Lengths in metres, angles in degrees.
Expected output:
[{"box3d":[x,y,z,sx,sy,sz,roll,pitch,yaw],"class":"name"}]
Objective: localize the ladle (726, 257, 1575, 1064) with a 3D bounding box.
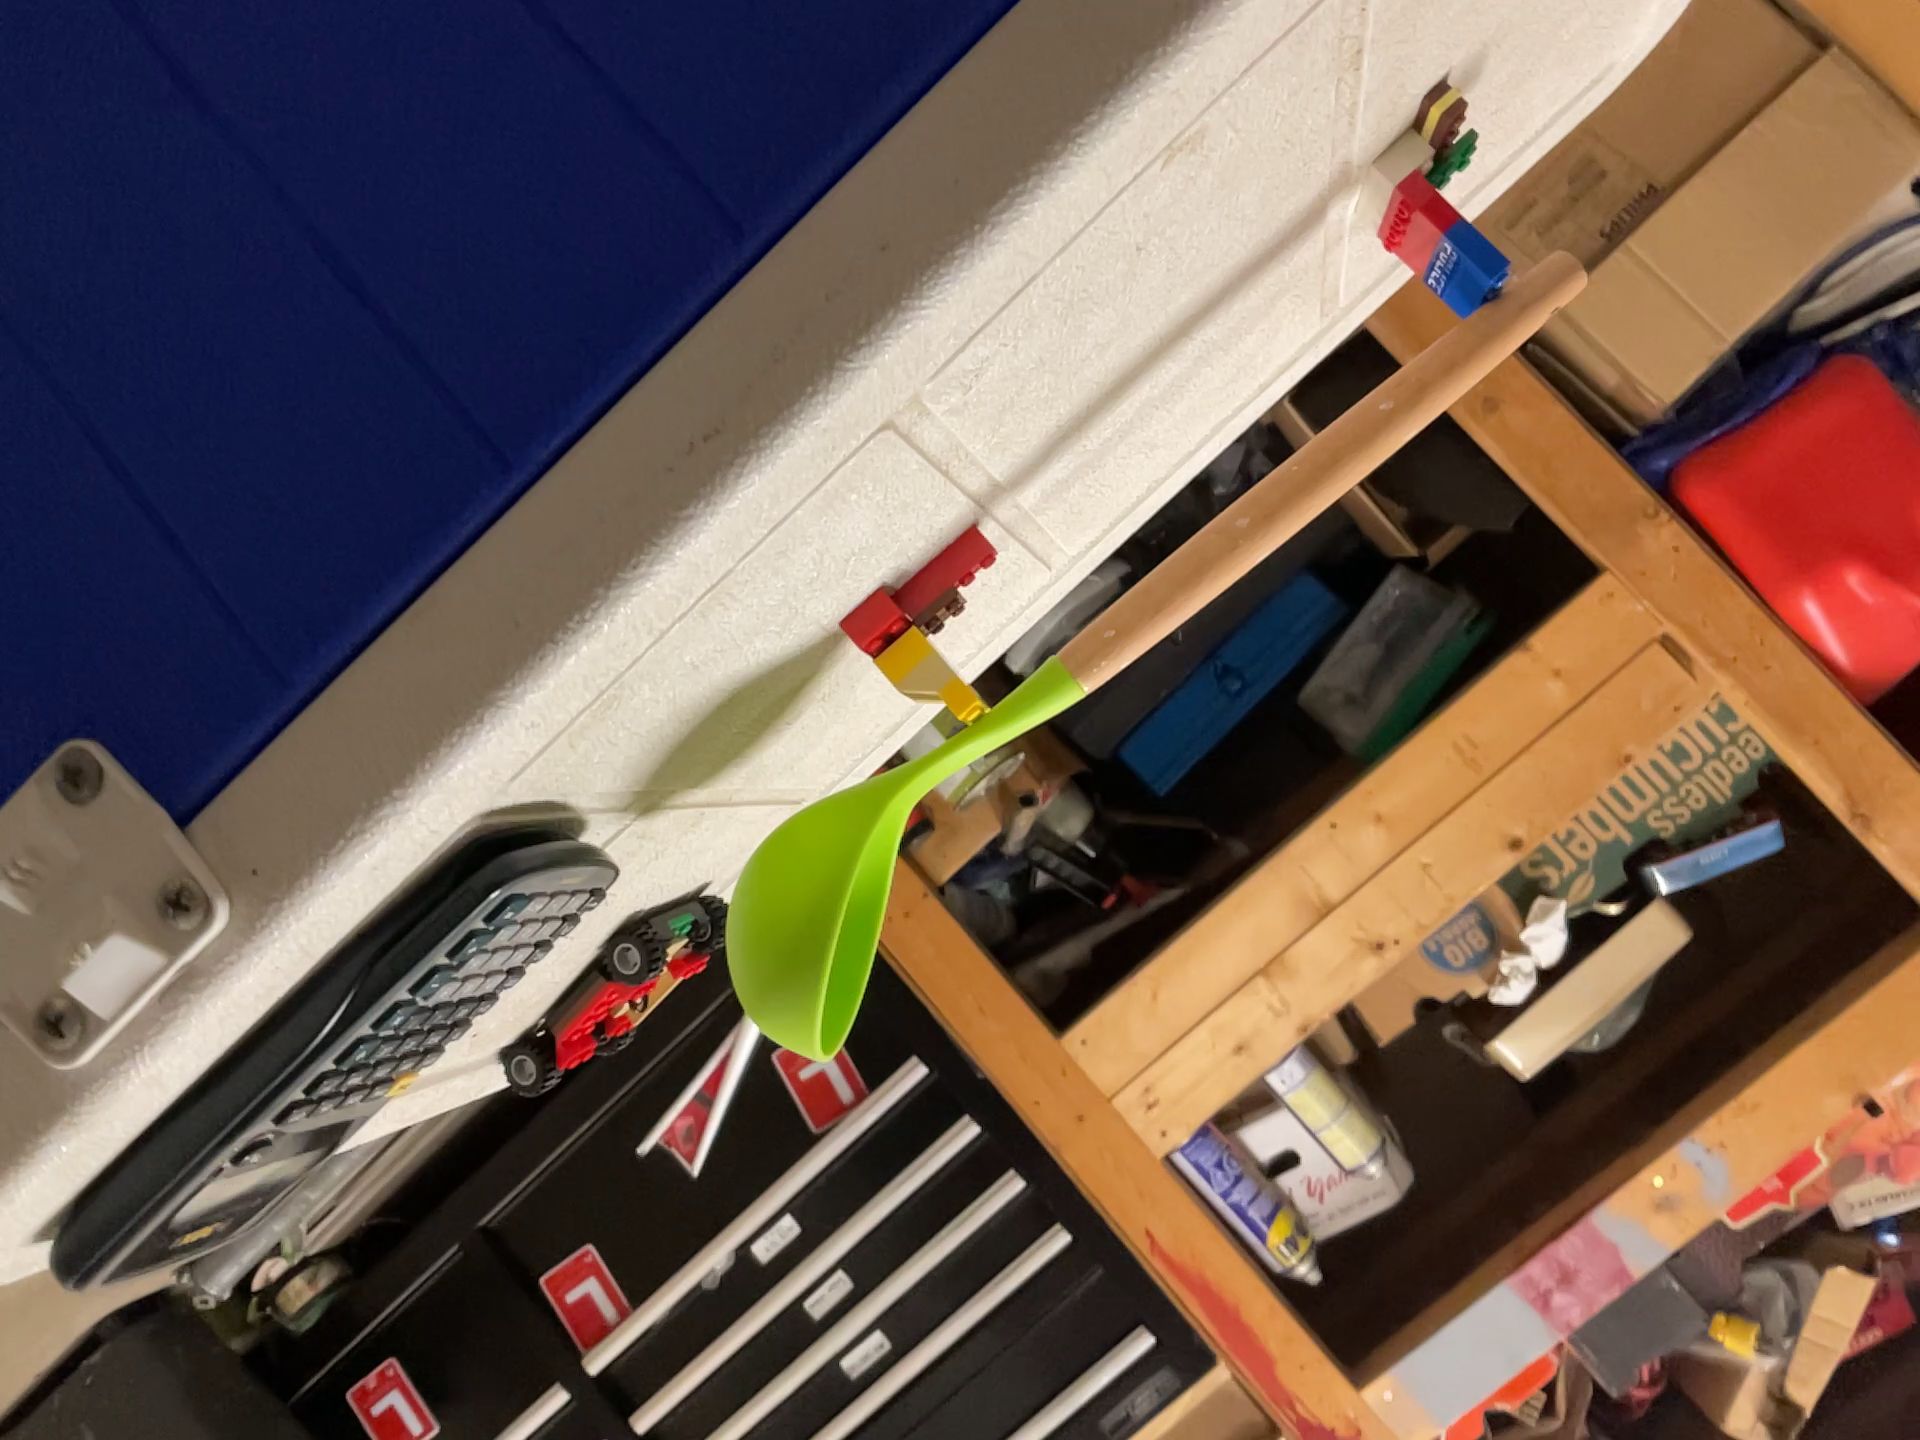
[{"box3d":[0.059,-0.020,0.464,0.320,0.062,0.078,-39,170,0],"class":"ladle"}]
